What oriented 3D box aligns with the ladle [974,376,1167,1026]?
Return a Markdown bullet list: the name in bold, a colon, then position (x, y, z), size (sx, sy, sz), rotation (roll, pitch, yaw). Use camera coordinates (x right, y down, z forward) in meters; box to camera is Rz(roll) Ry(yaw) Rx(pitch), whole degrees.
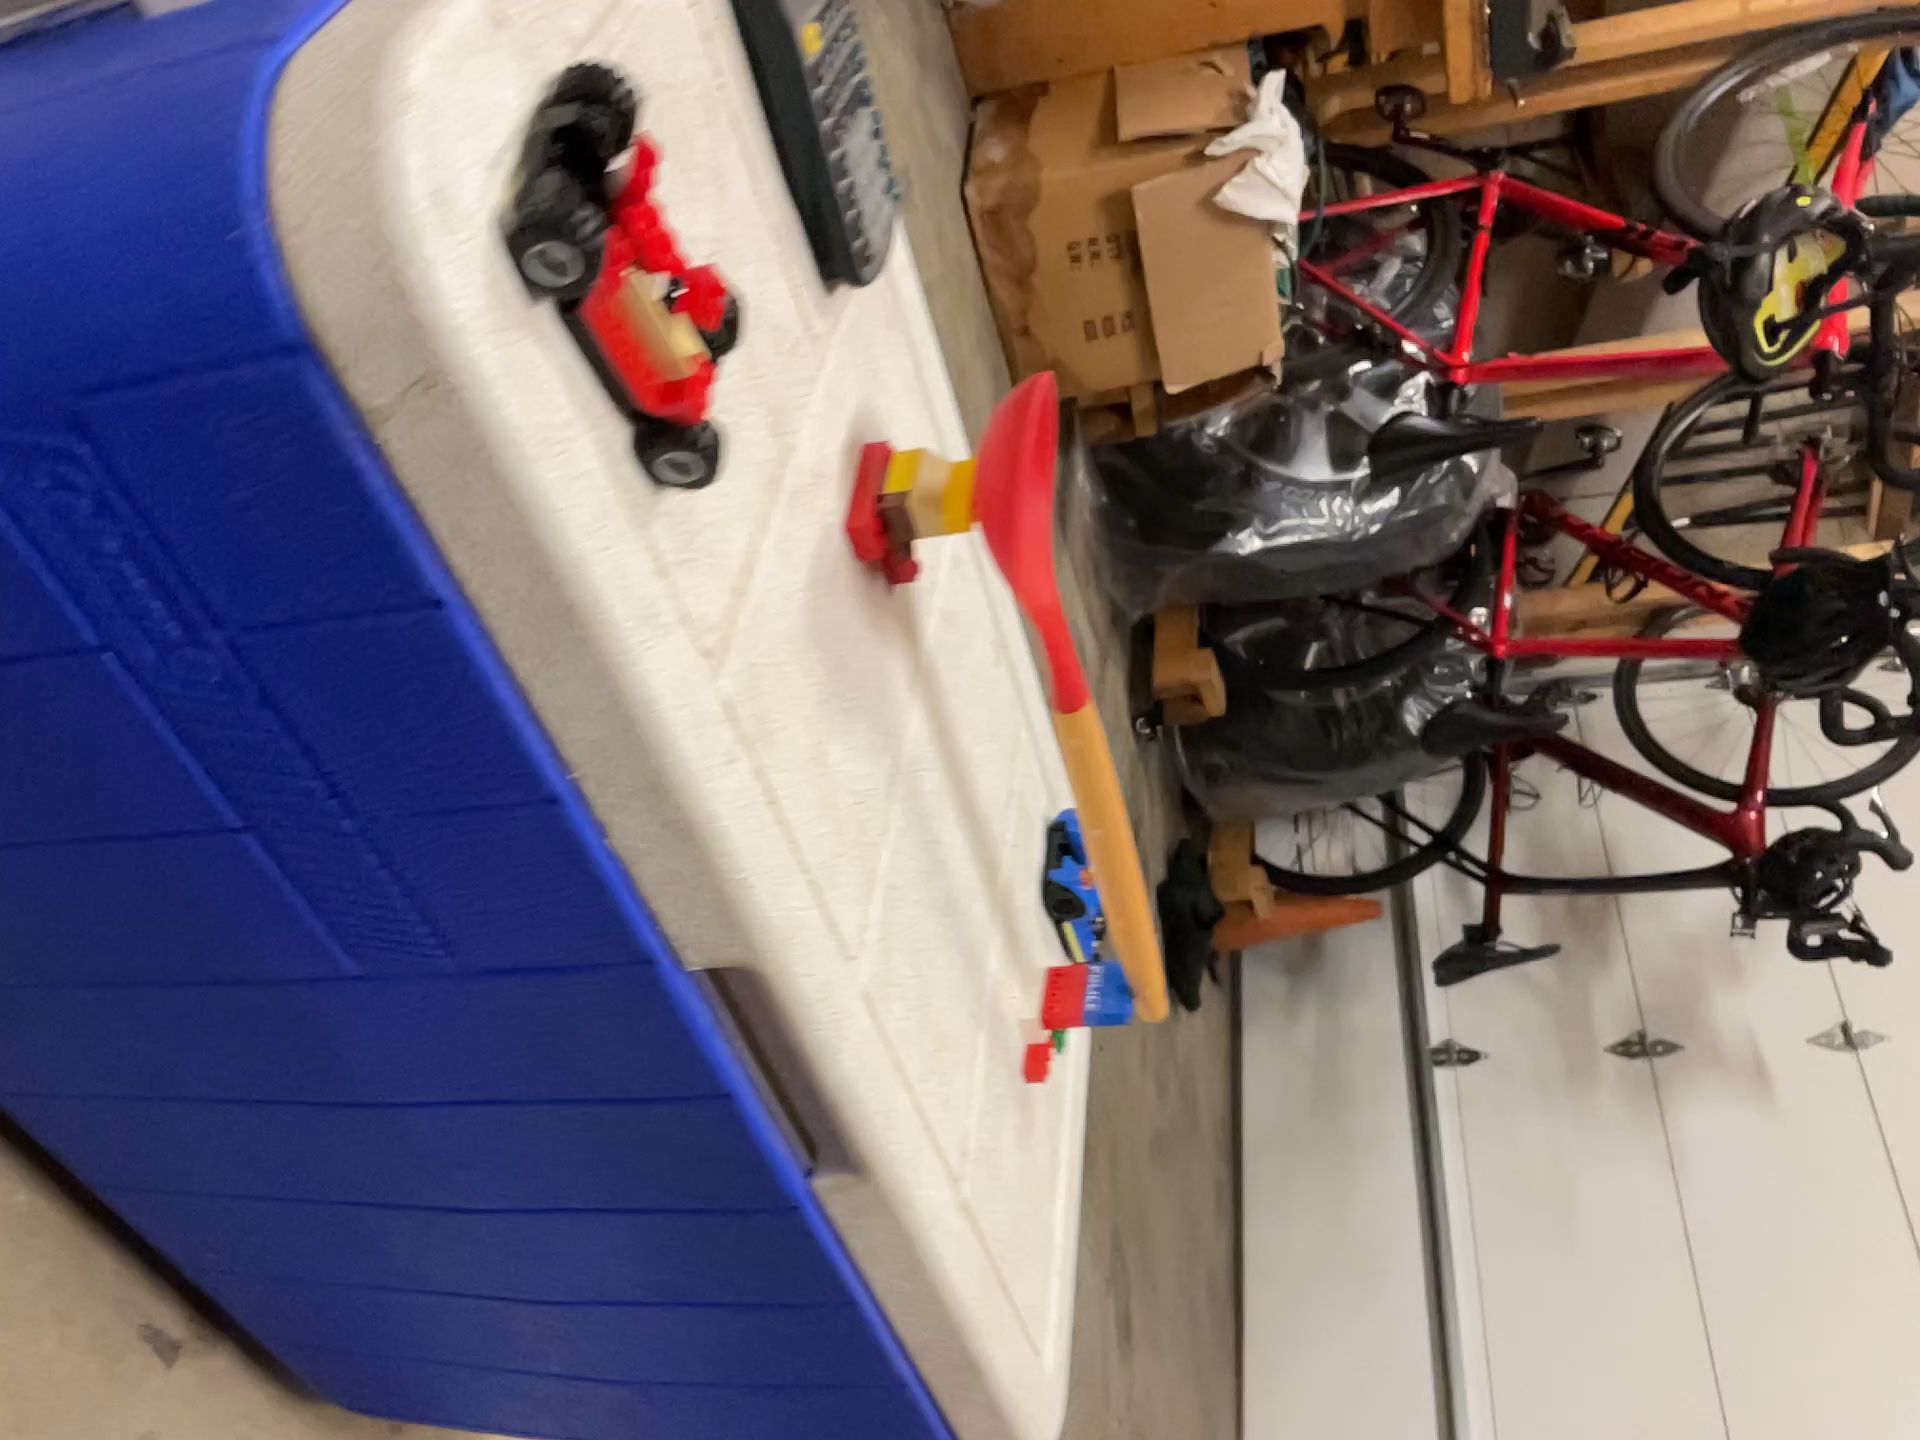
- **ladle**: position (0.050, 0.013, 0.620), size (0.069, 0.031, 0.315), rotation (-72, 152, -47)
